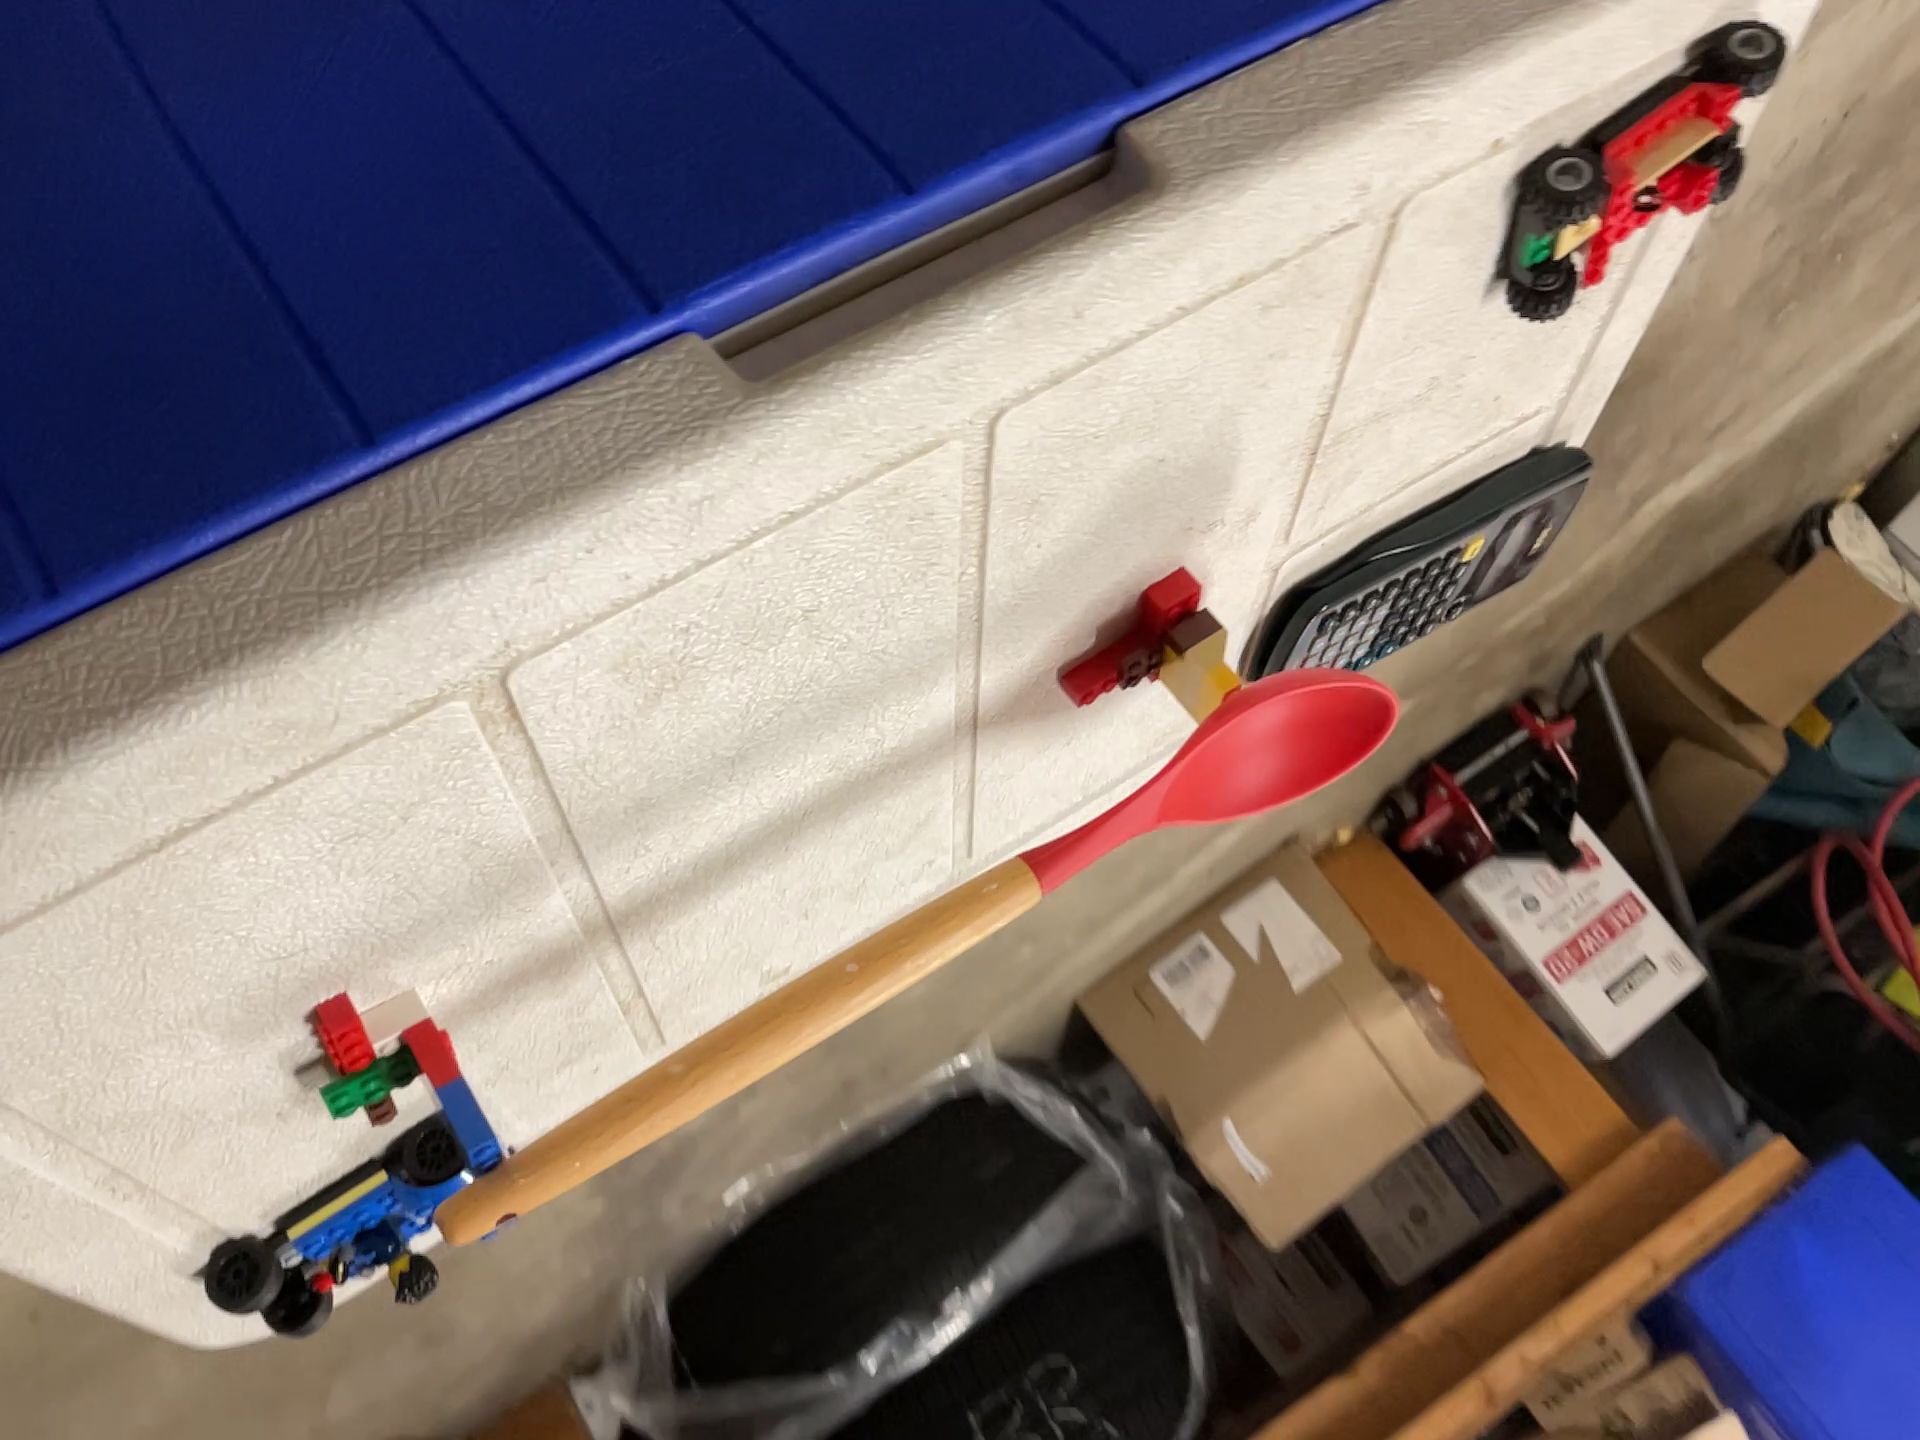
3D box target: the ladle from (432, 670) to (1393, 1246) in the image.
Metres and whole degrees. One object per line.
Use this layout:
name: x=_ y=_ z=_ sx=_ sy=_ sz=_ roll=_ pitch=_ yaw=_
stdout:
ladle: x=-0.002 y=0.060 z=0.461 sx=0.315 sy=0.031 sz=0.069 roll=-28 pitch=149 yaw=-20
